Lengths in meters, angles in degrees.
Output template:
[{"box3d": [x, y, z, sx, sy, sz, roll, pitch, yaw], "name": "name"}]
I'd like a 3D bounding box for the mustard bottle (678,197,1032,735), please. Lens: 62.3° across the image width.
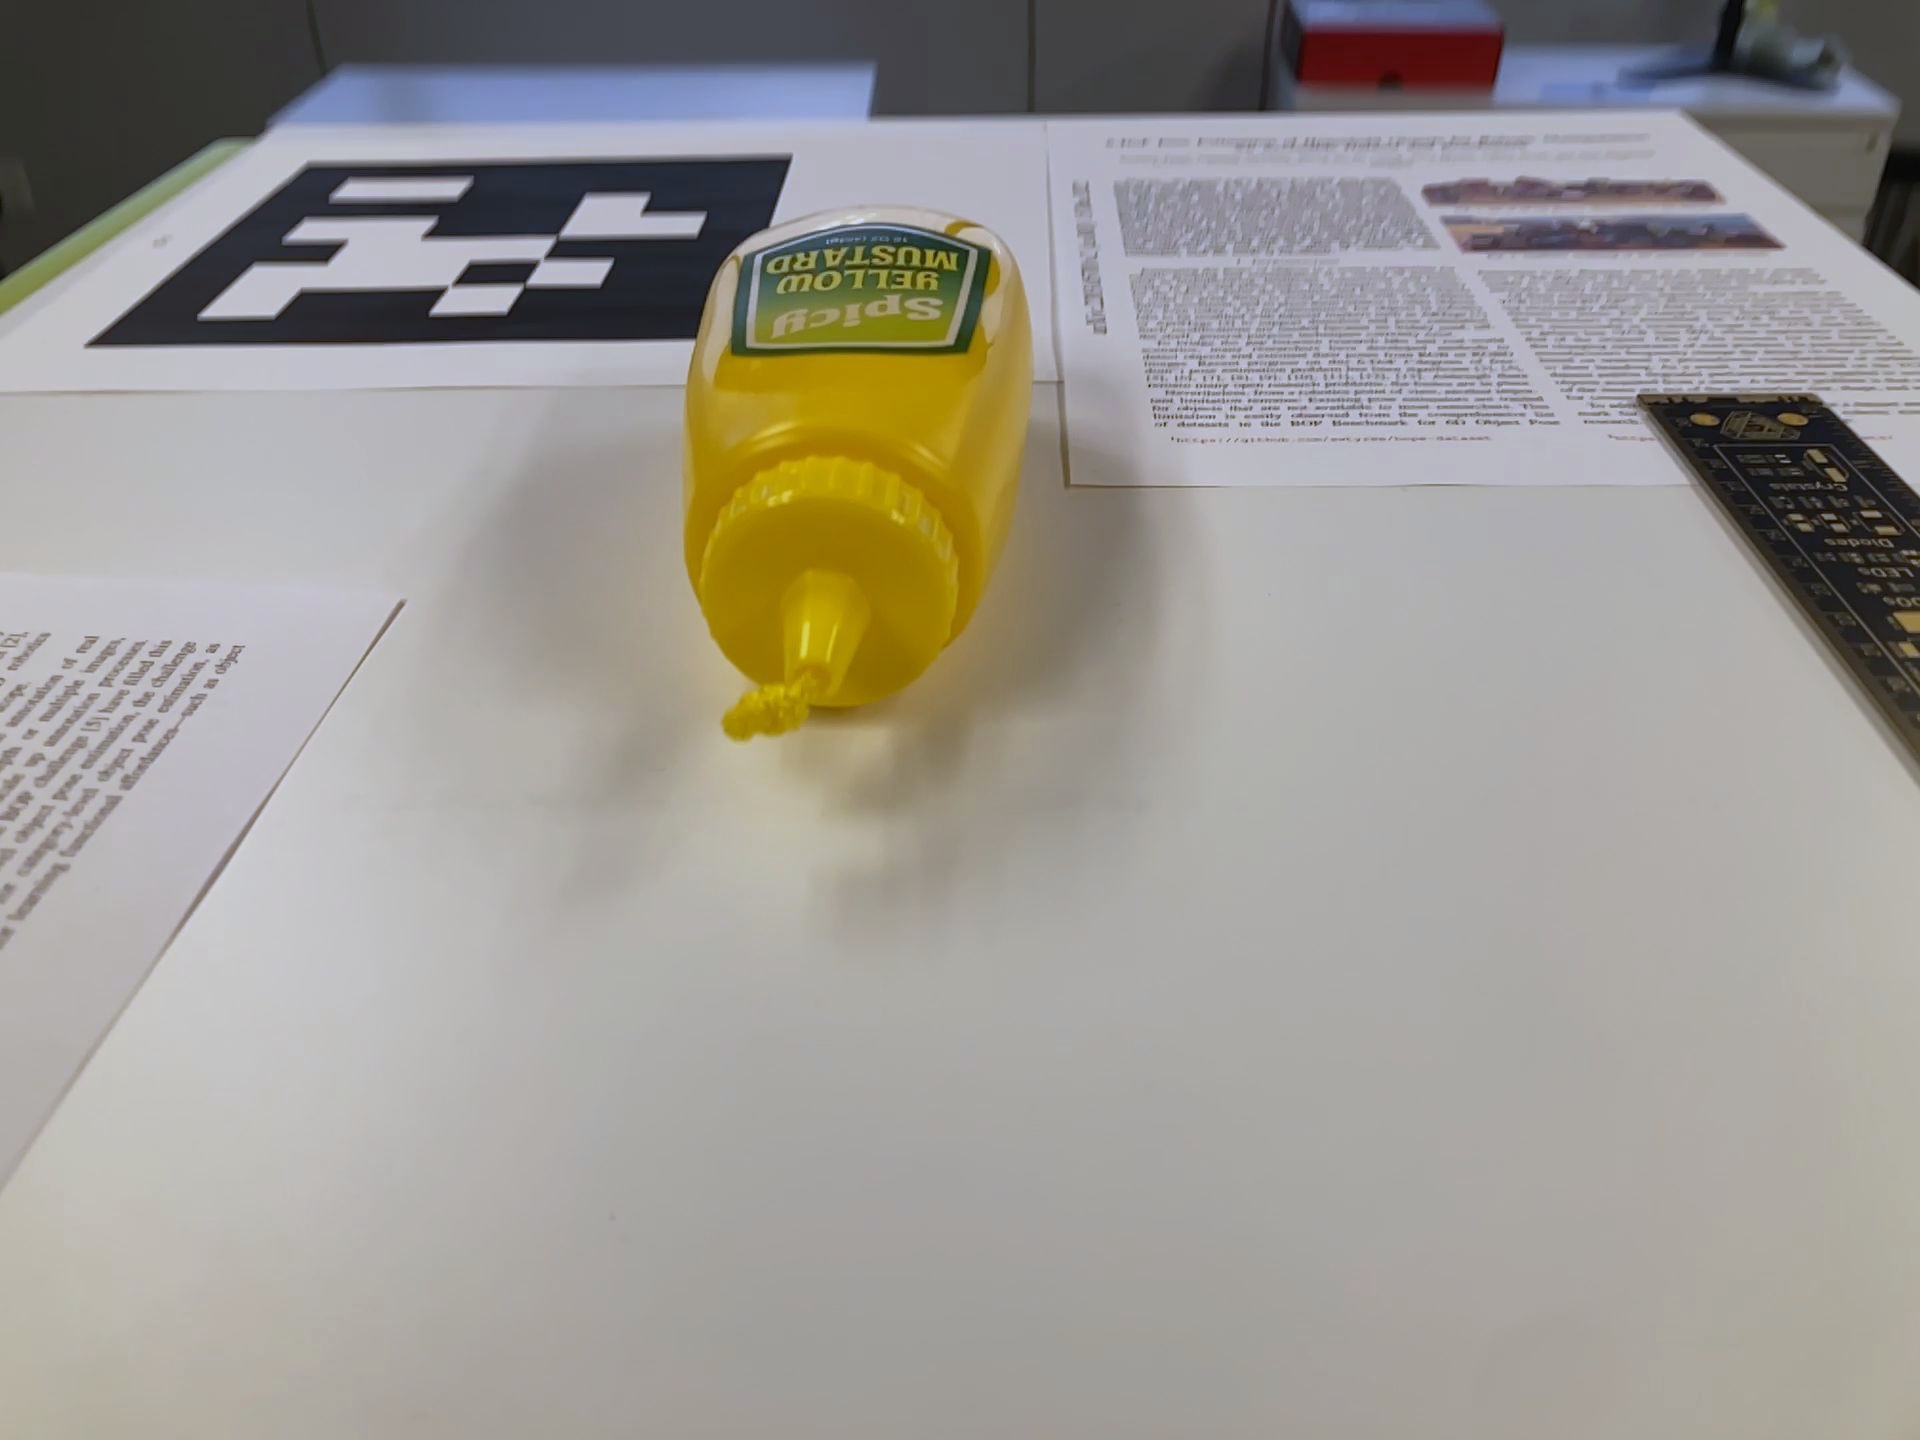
[{"box3d": [-0.019, -0.048, 0.278, 0.065, 0.049, 0.160, -1, 34, 1], "name": "mustard bottle"}]
